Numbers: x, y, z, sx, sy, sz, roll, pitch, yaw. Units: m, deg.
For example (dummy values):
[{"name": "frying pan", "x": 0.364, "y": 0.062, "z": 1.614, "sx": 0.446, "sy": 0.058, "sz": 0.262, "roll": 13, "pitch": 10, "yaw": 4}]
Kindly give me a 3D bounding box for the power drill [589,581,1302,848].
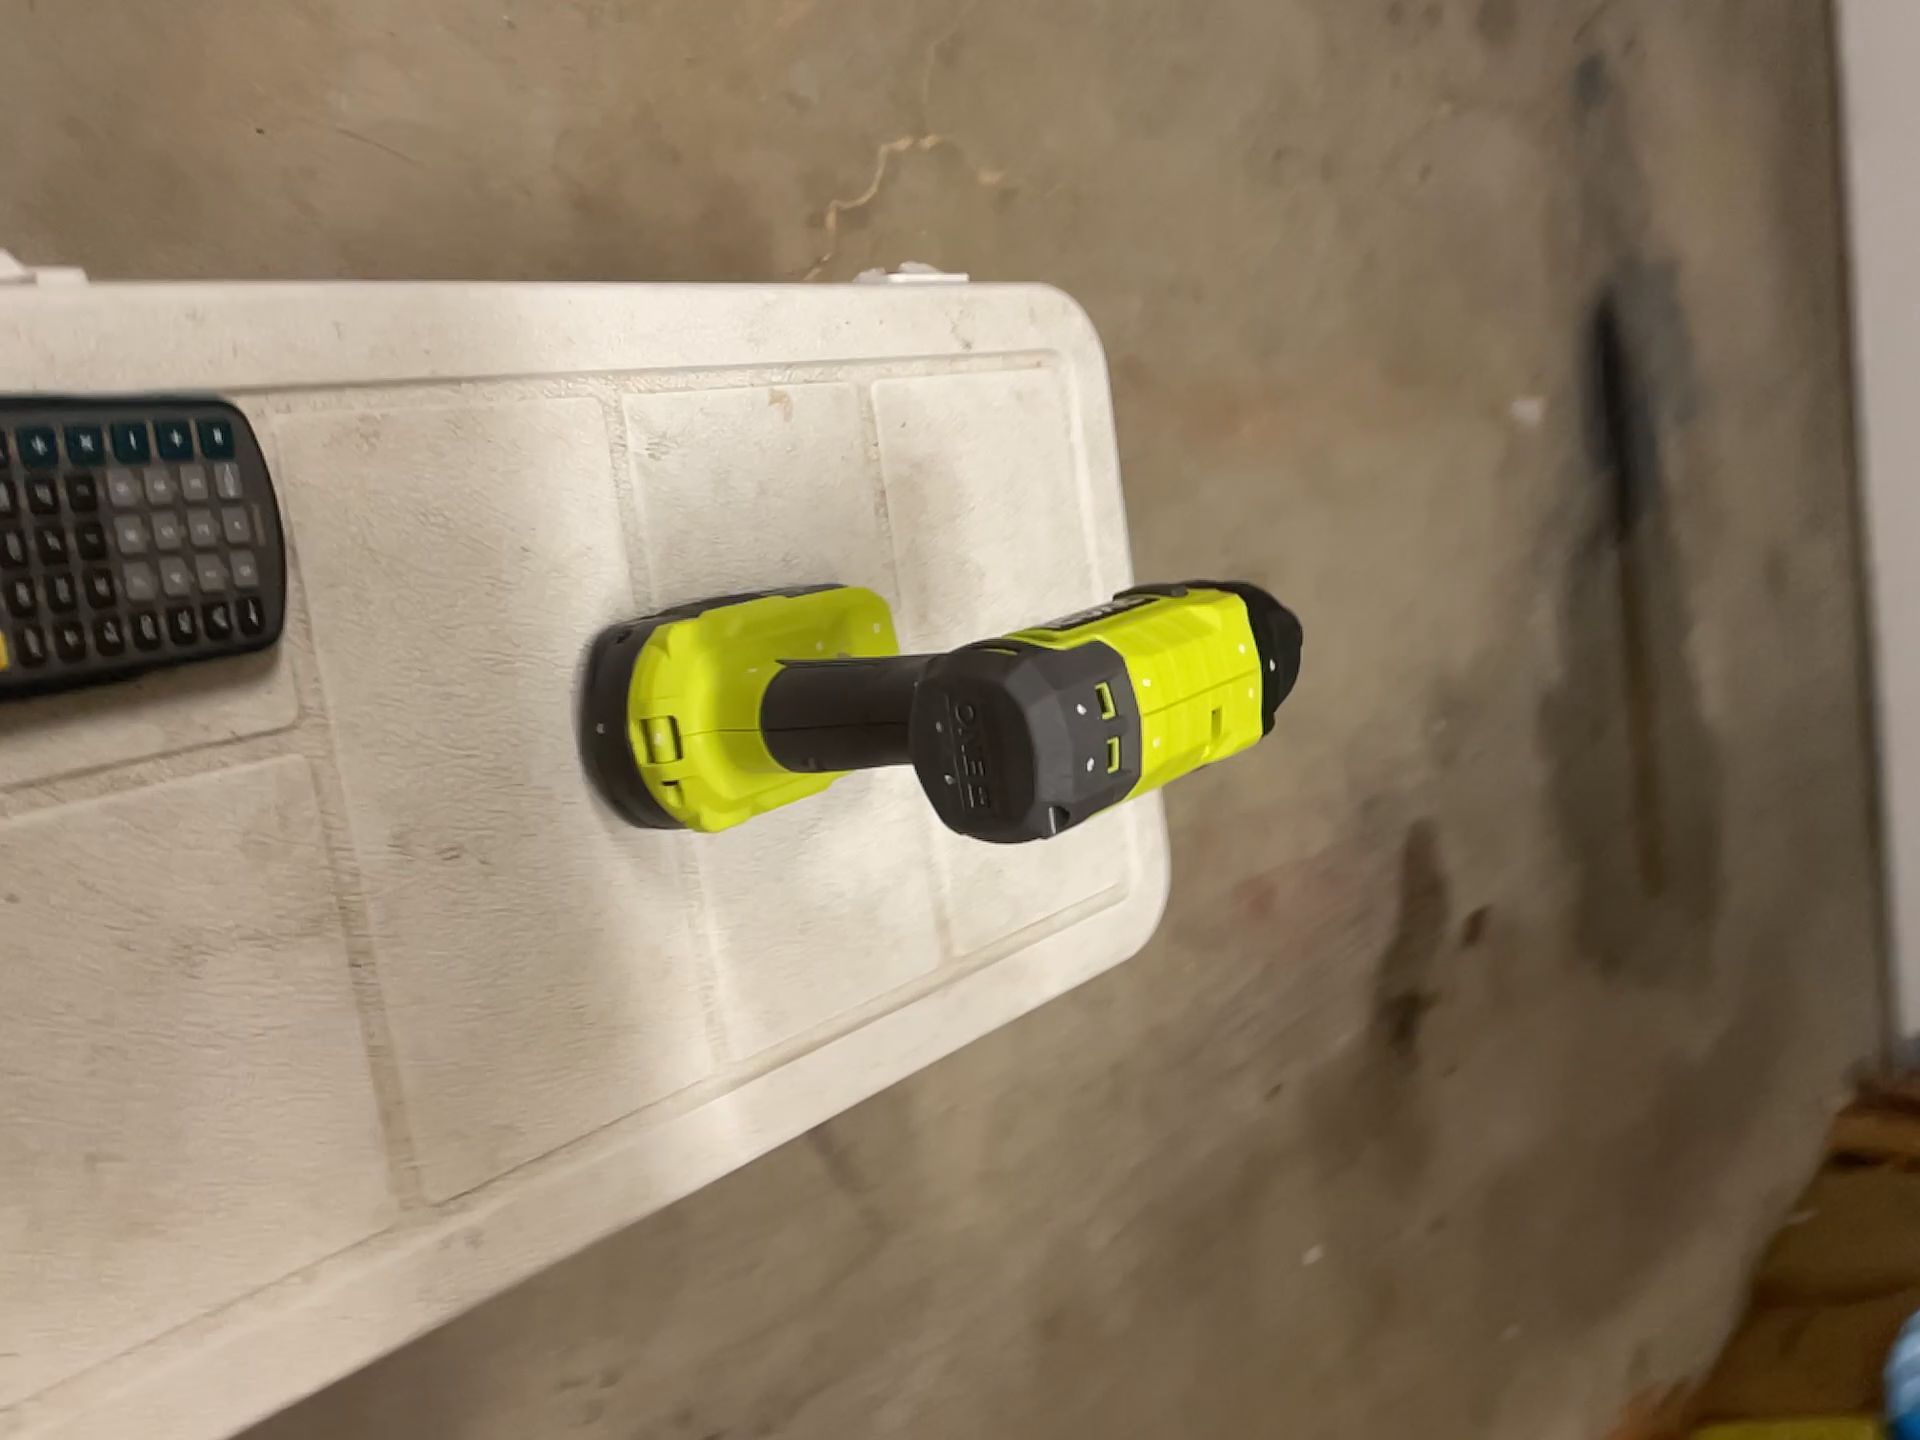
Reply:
[{"name": "power drill", "x": -0.005, "y": -0.010, "z": 0.550, "sx": 0.171, "sy": 0.223, "sz": 0.080, "roll": -20, "pitch": 105, "yaw": -47}]
